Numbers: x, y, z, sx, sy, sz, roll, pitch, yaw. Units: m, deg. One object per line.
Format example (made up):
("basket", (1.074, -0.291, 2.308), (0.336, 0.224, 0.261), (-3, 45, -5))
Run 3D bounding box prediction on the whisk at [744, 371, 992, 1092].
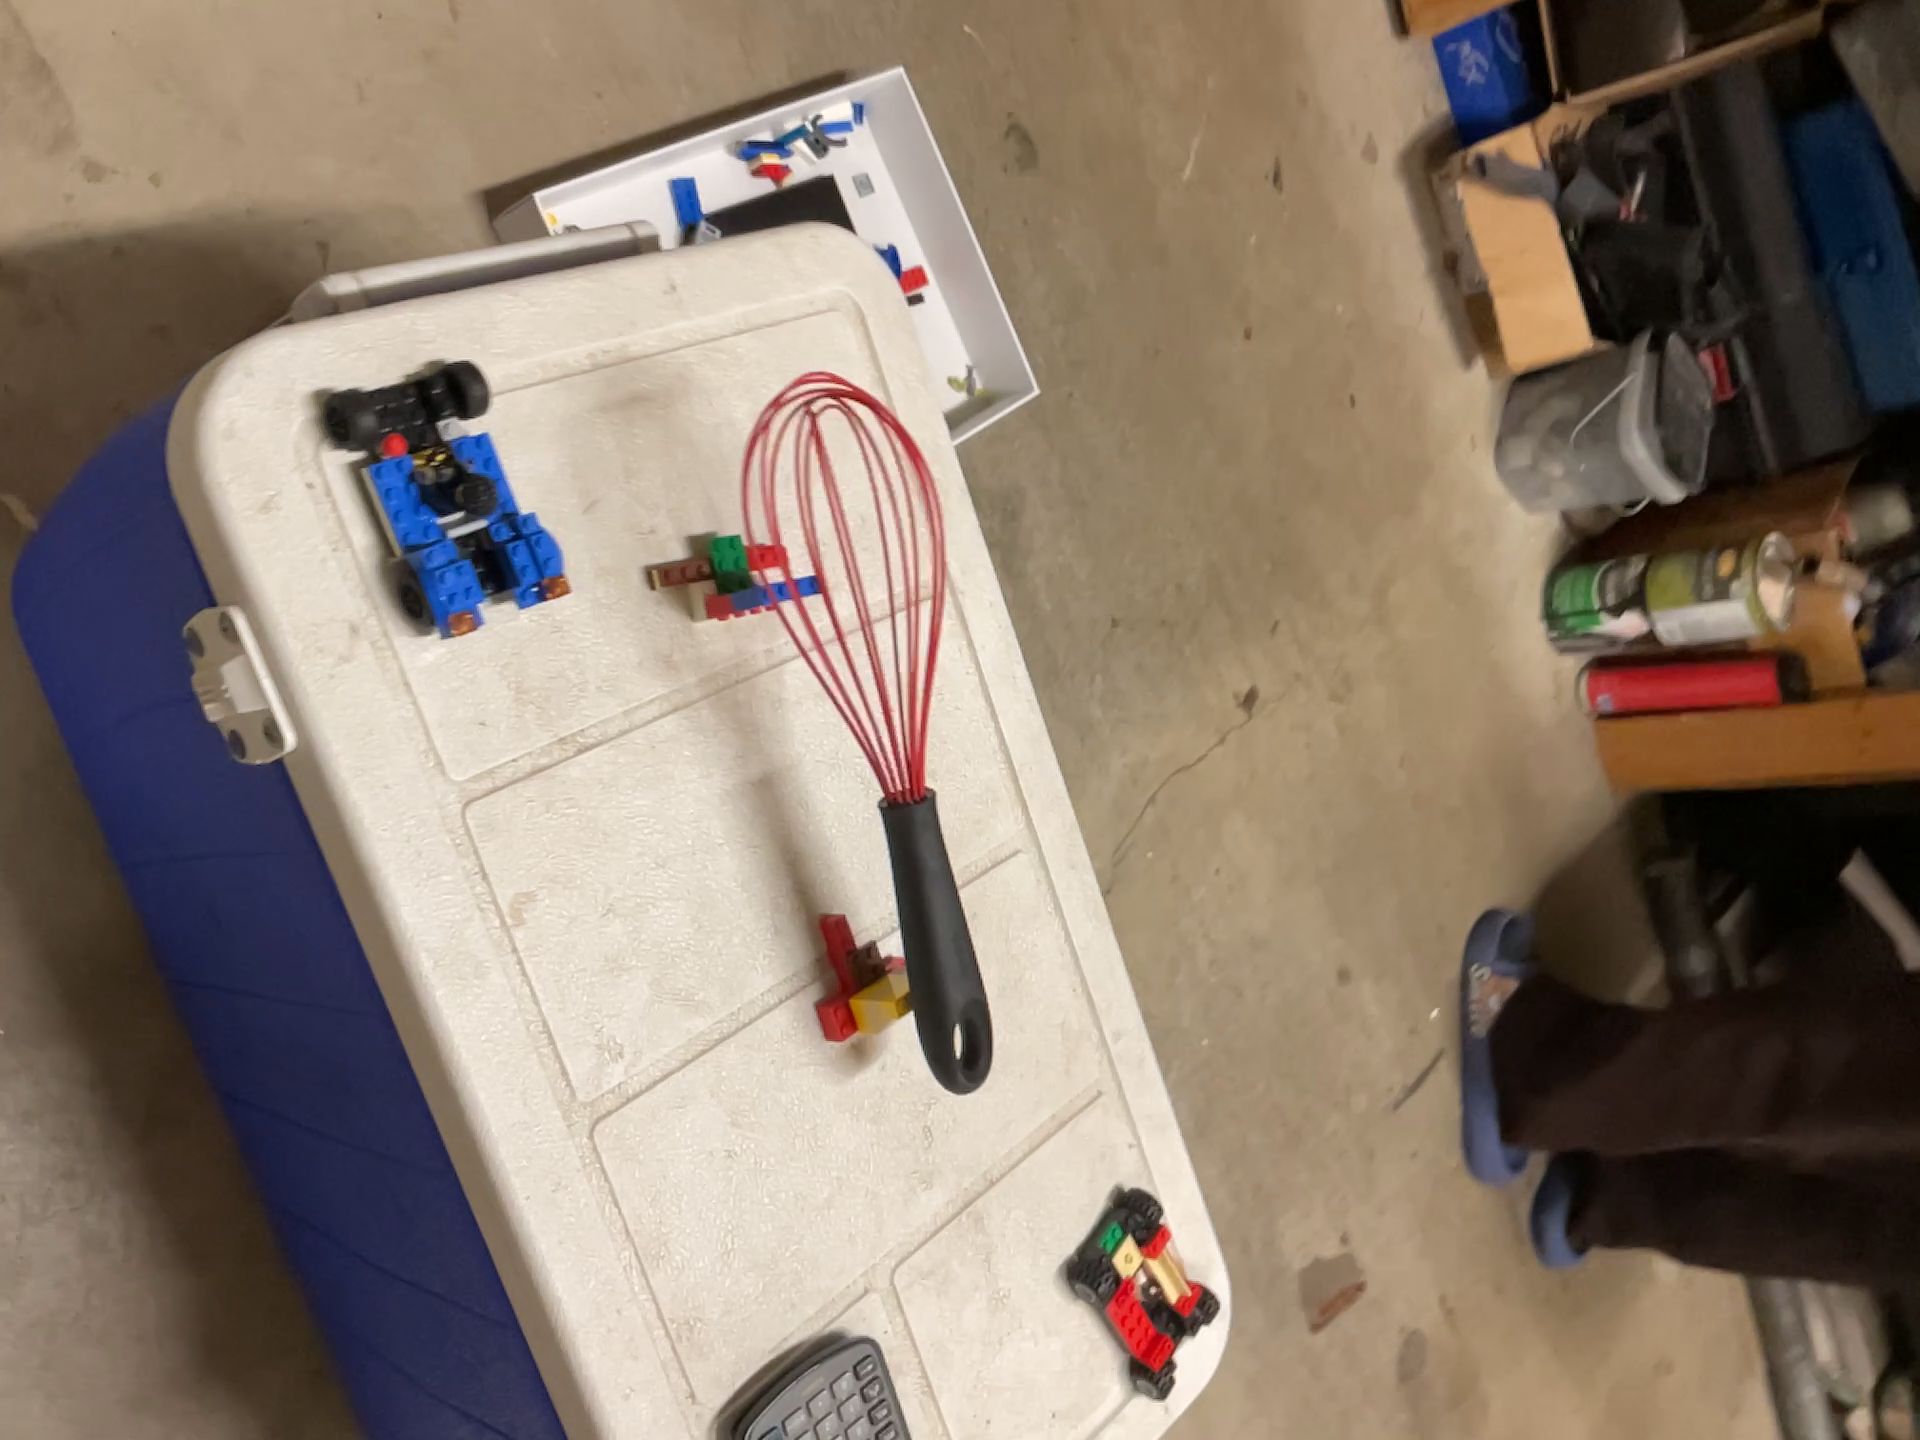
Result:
("whisk", (-0.025, 0.012, 0.622), (0.073, 0.073, 0.295), (-27, 111, -45))
